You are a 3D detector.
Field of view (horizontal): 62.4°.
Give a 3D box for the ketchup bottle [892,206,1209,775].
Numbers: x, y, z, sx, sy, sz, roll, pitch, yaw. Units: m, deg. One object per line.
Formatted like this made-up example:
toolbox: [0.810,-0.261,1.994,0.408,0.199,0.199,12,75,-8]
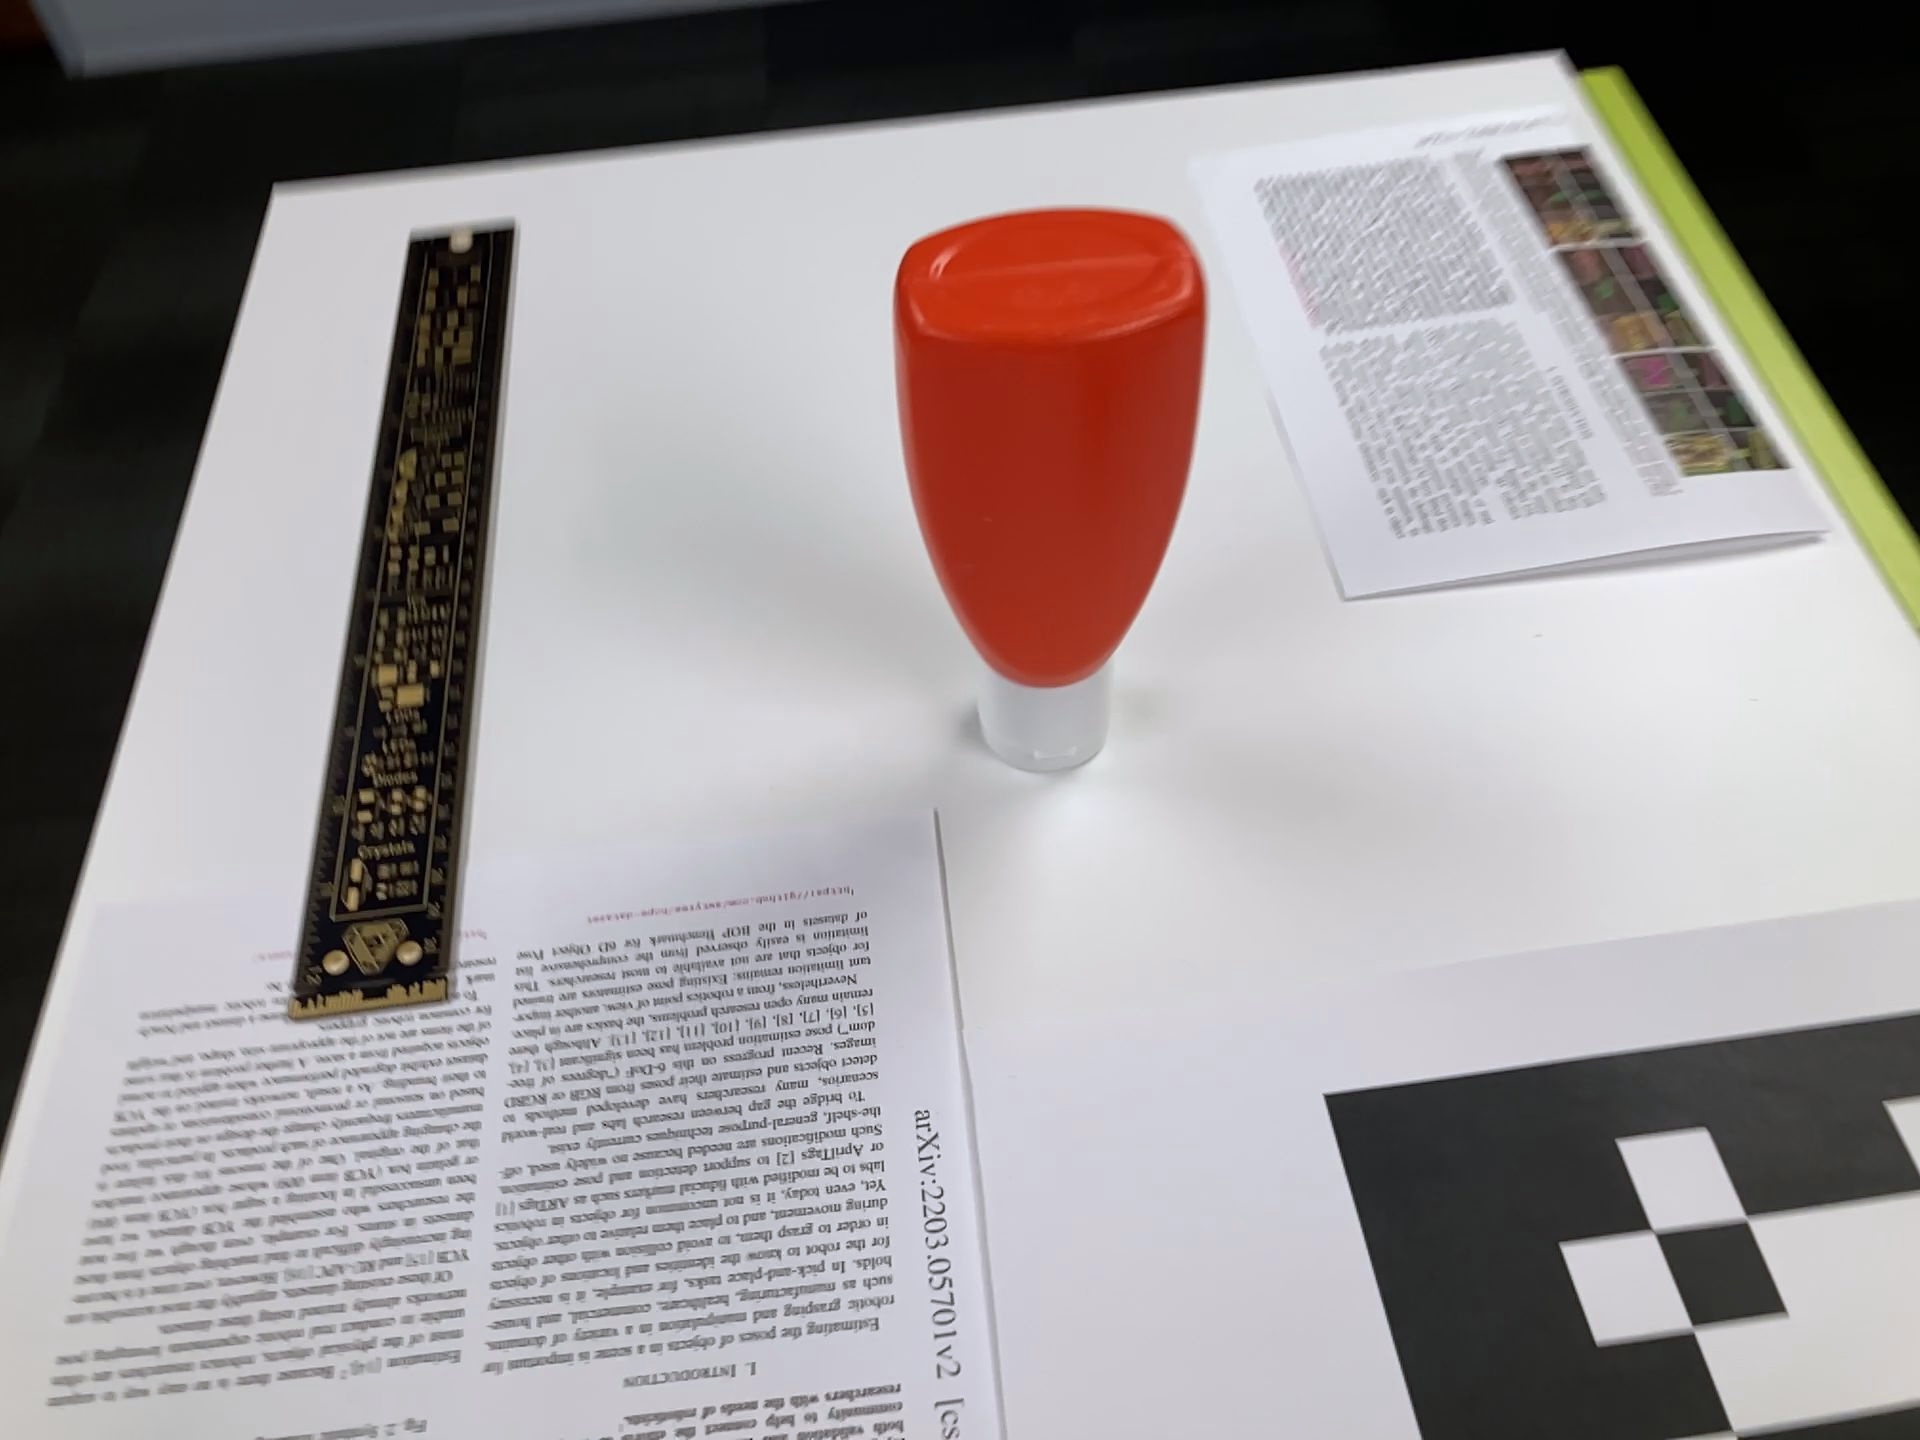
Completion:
ketchup bottle: [0.020,-0.044,0.369,0.065,0.149,0.043,-6,52,-2]
